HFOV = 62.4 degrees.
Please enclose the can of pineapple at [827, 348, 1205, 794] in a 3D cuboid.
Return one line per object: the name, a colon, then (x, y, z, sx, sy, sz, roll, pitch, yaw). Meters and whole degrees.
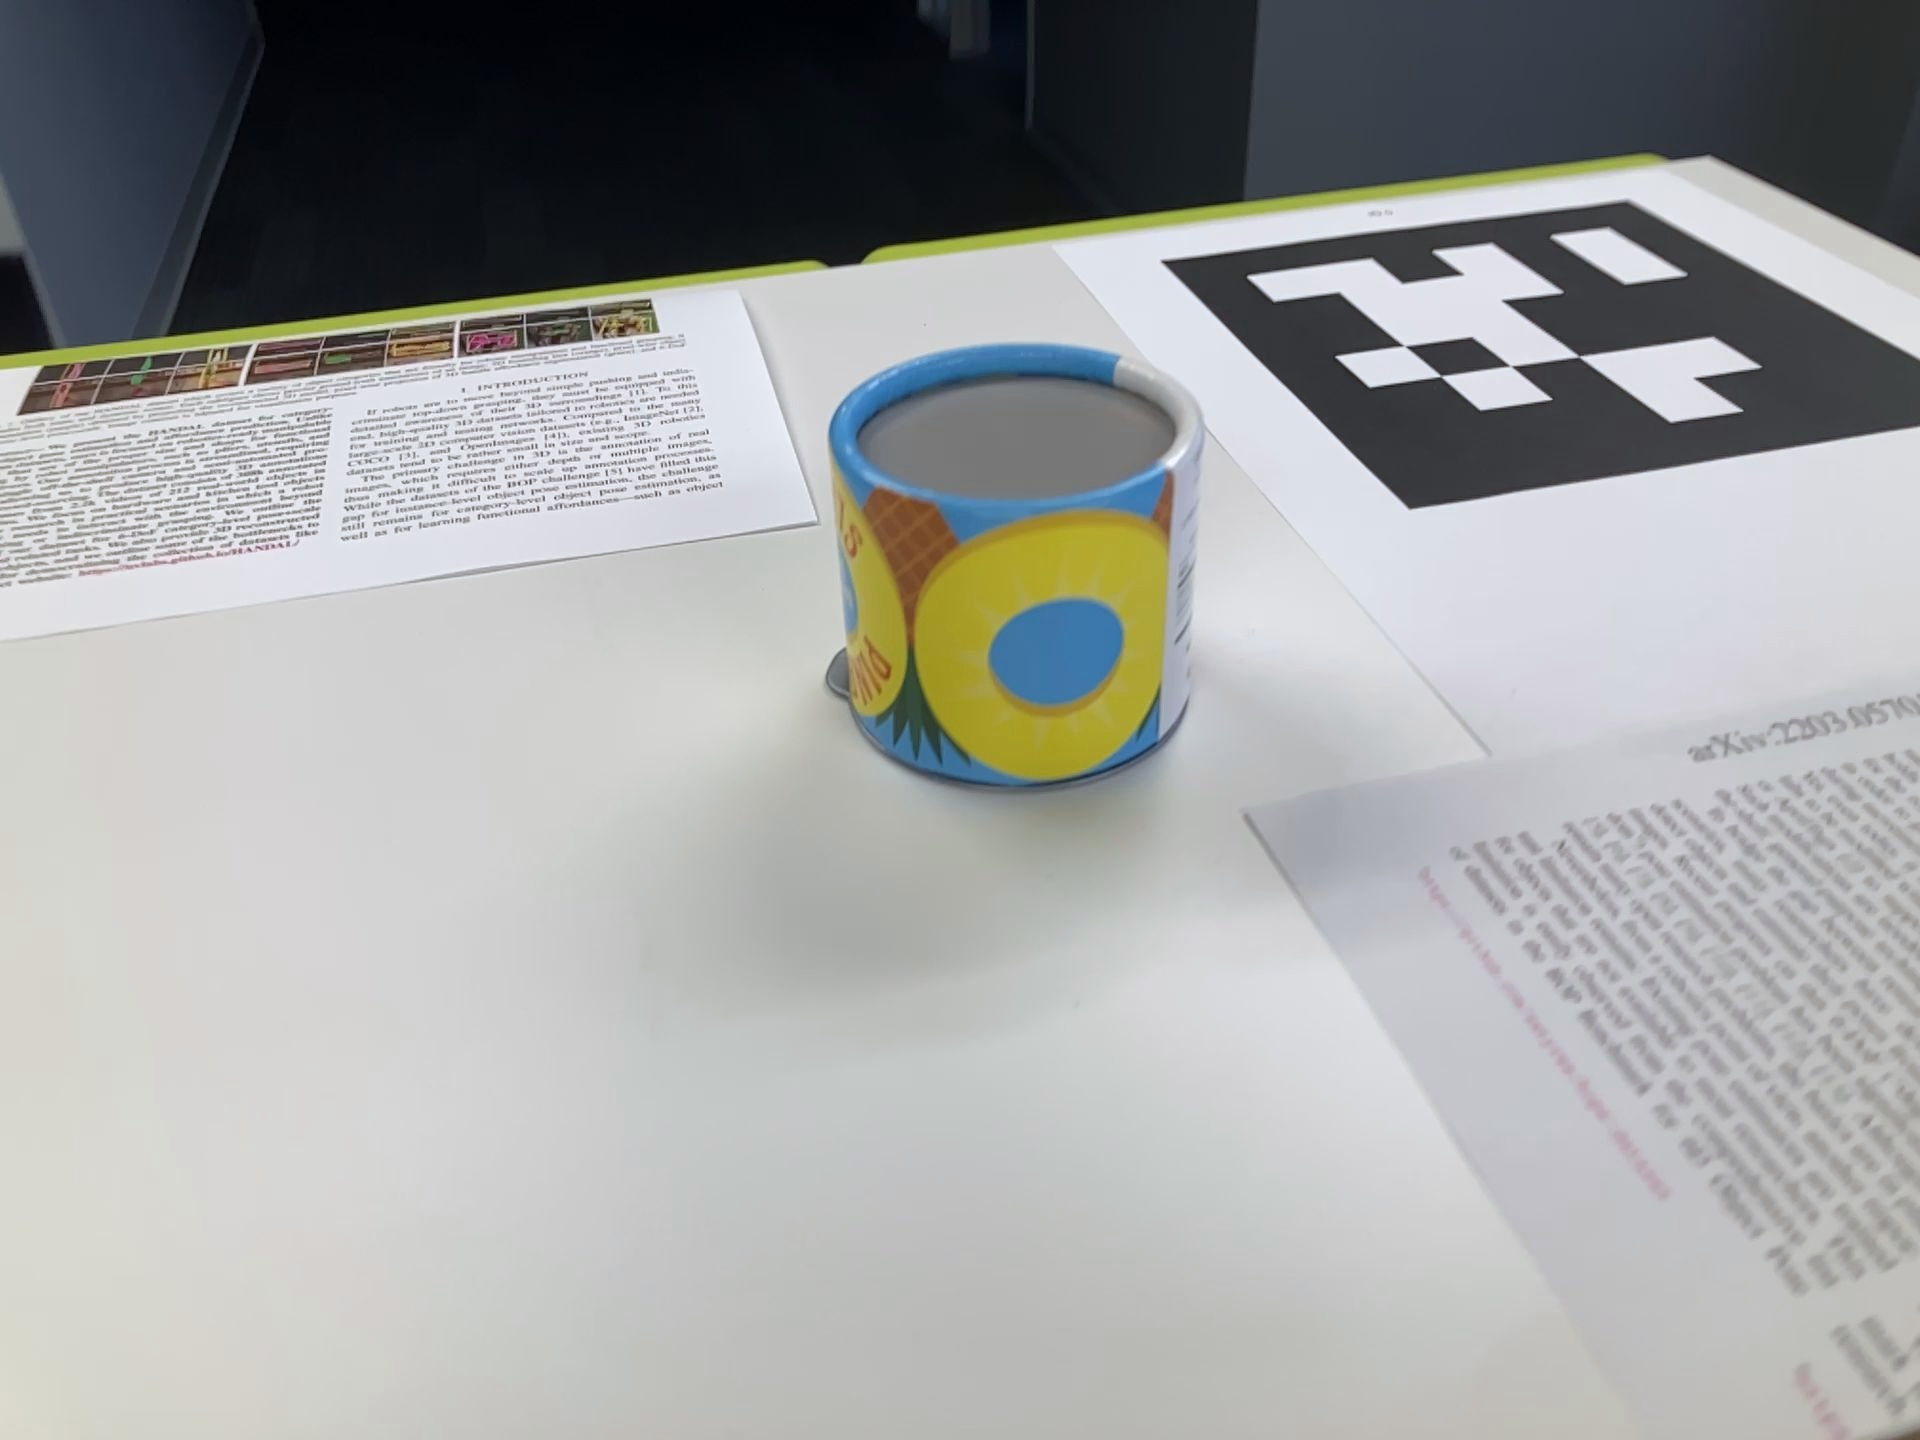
can of pineapple: (0.009, -0.029, 0.291, 0.071, 0.058, 0.071, -2, 36, 1)
